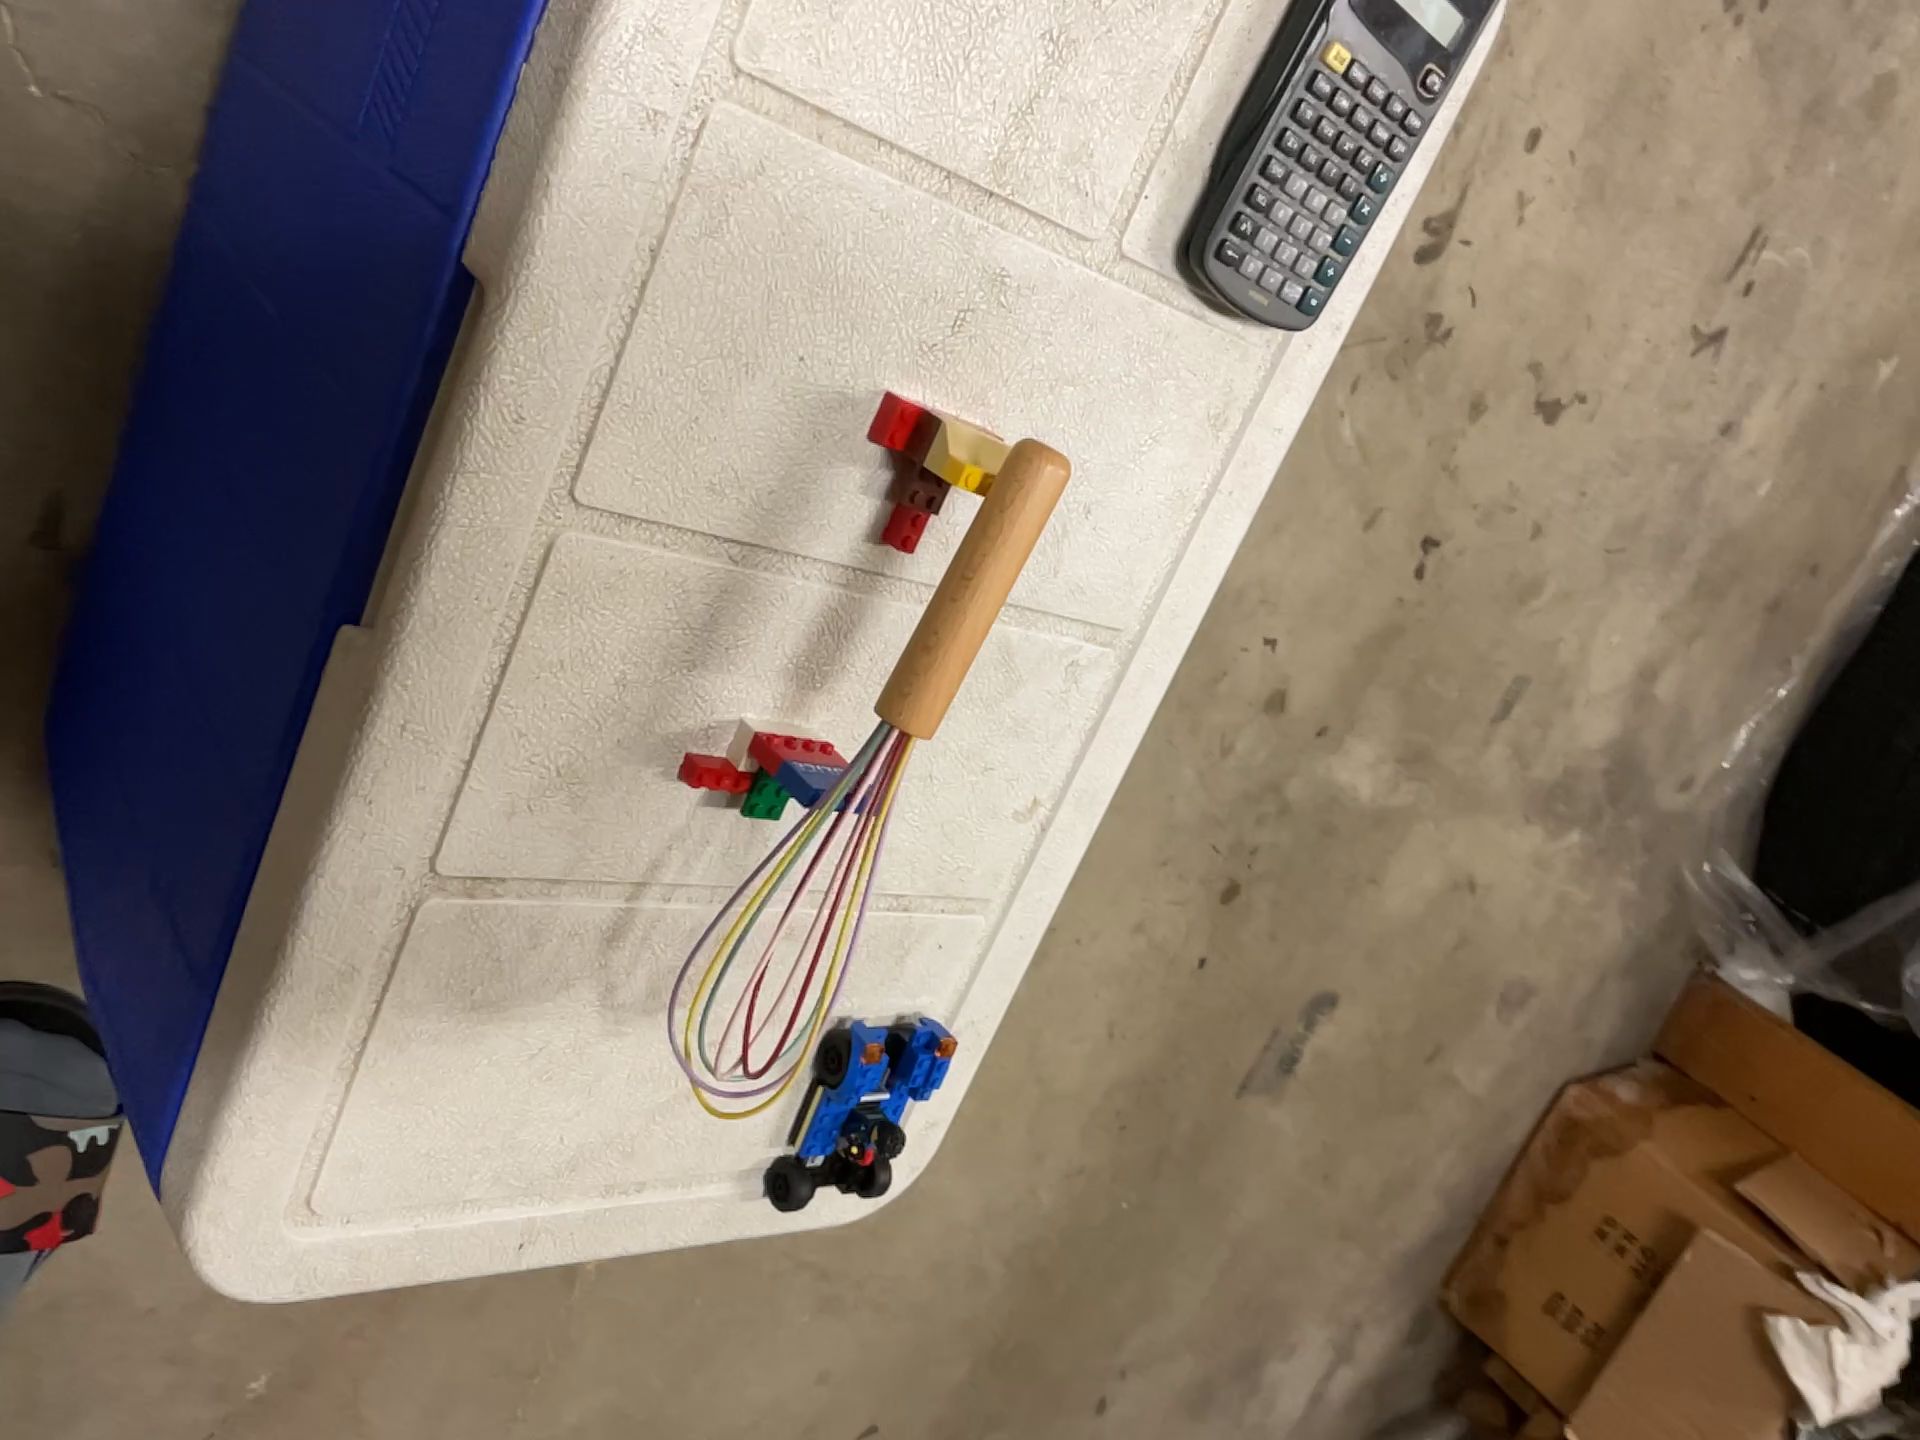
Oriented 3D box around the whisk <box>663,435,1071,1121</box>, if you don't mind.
[{"bbox_3d":[-0.026,0.023,0.514,0.051,0.047,0.245,22,100,-34],"label":"whisk"}]
